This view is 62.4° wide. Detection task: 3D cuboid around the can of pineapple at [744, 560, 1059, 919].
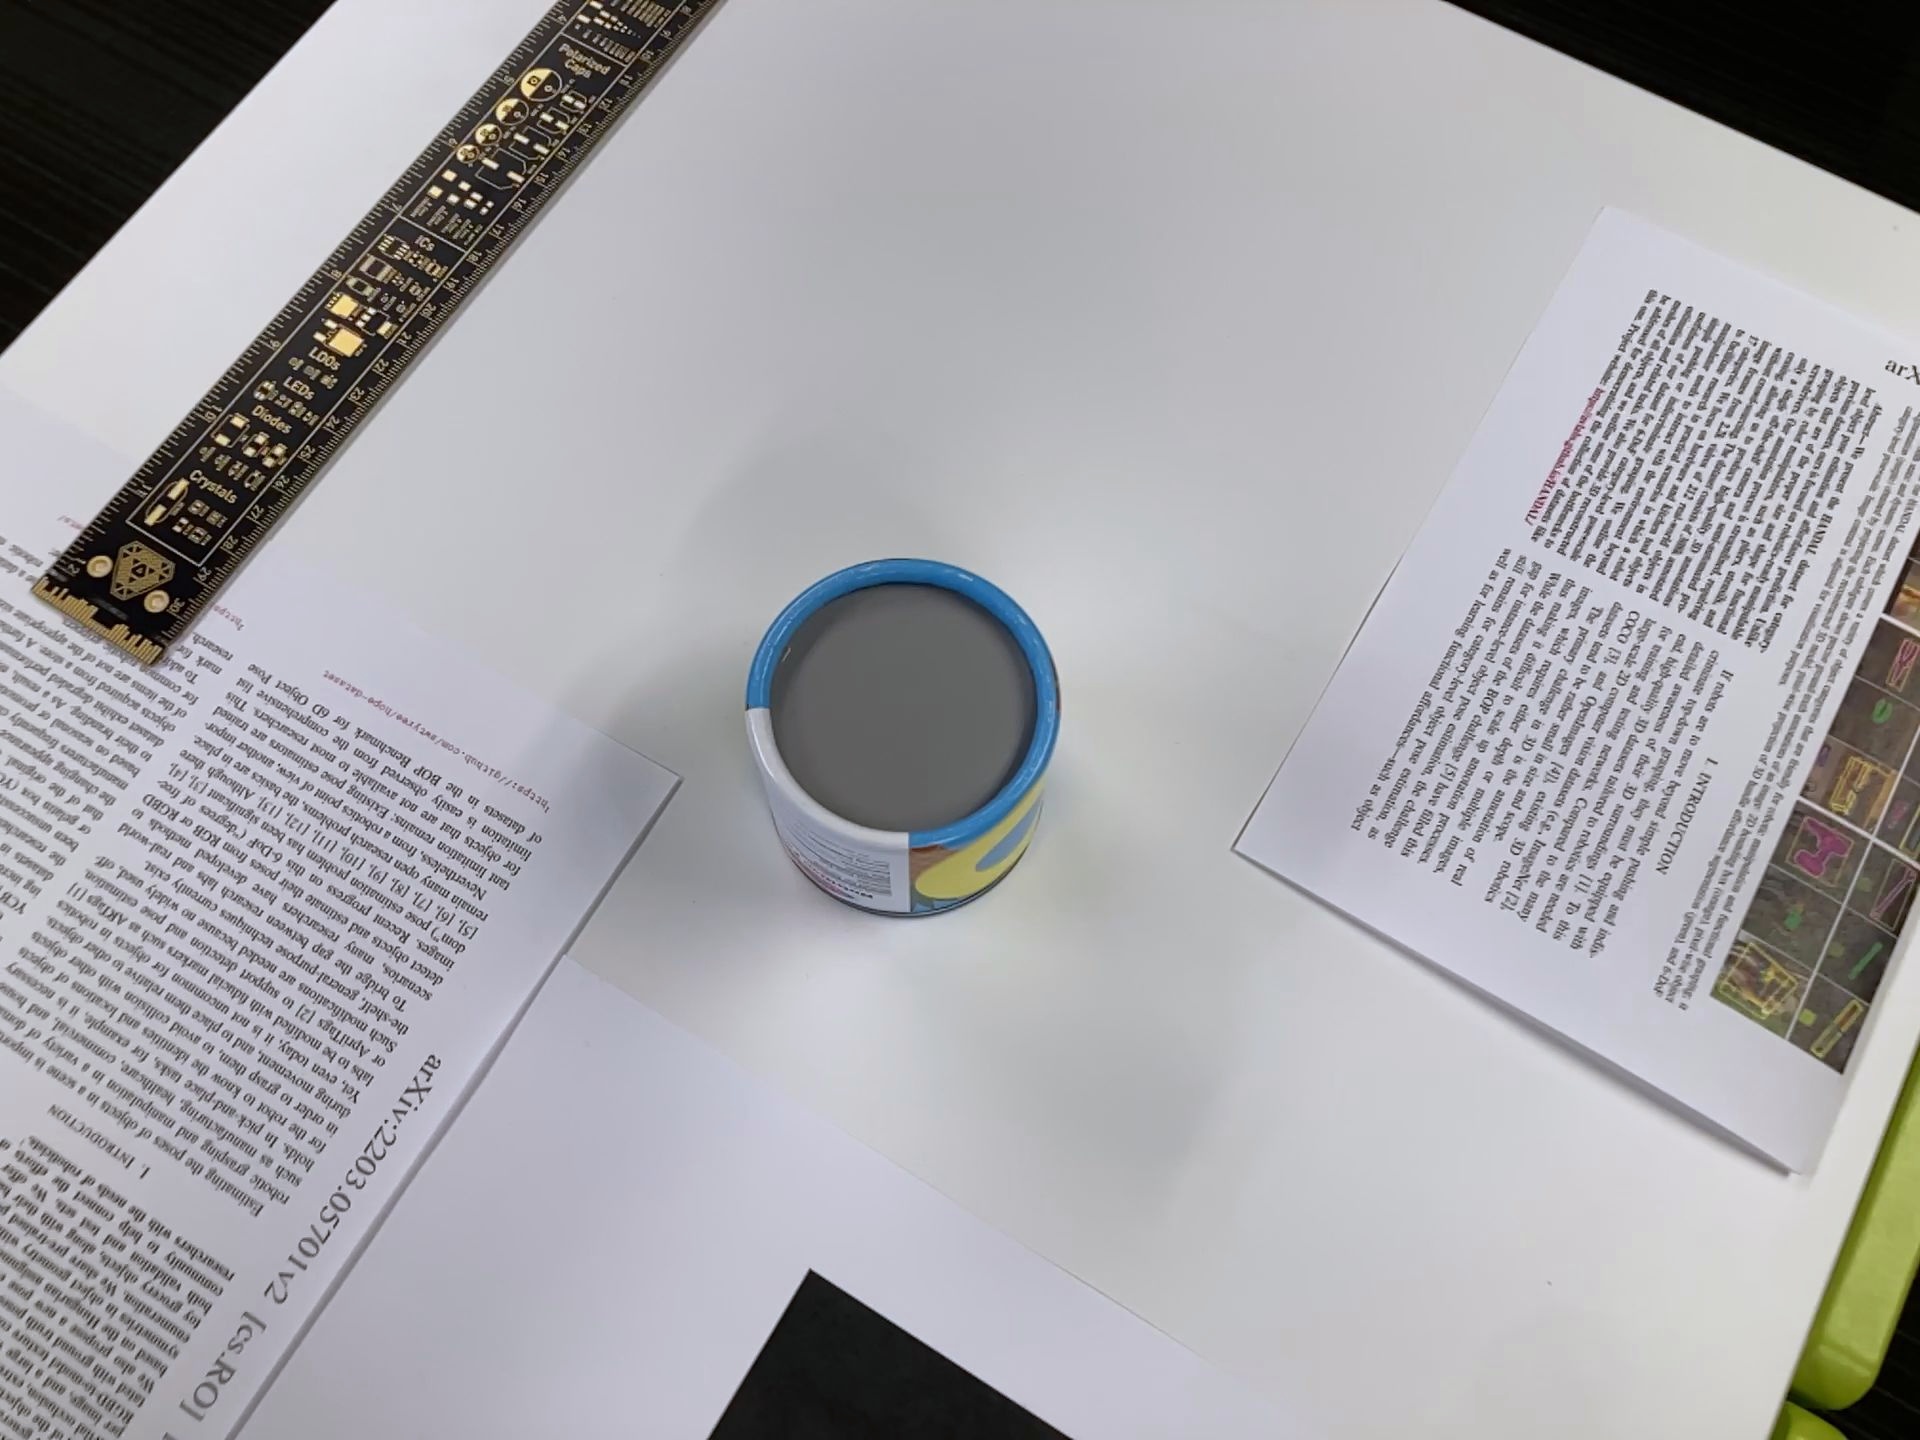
[{"bbox_3d":[-0.011,0.004,0.354,0.071,0.058,0.071,0,70,-1],"label":"can of pineapple"}]
